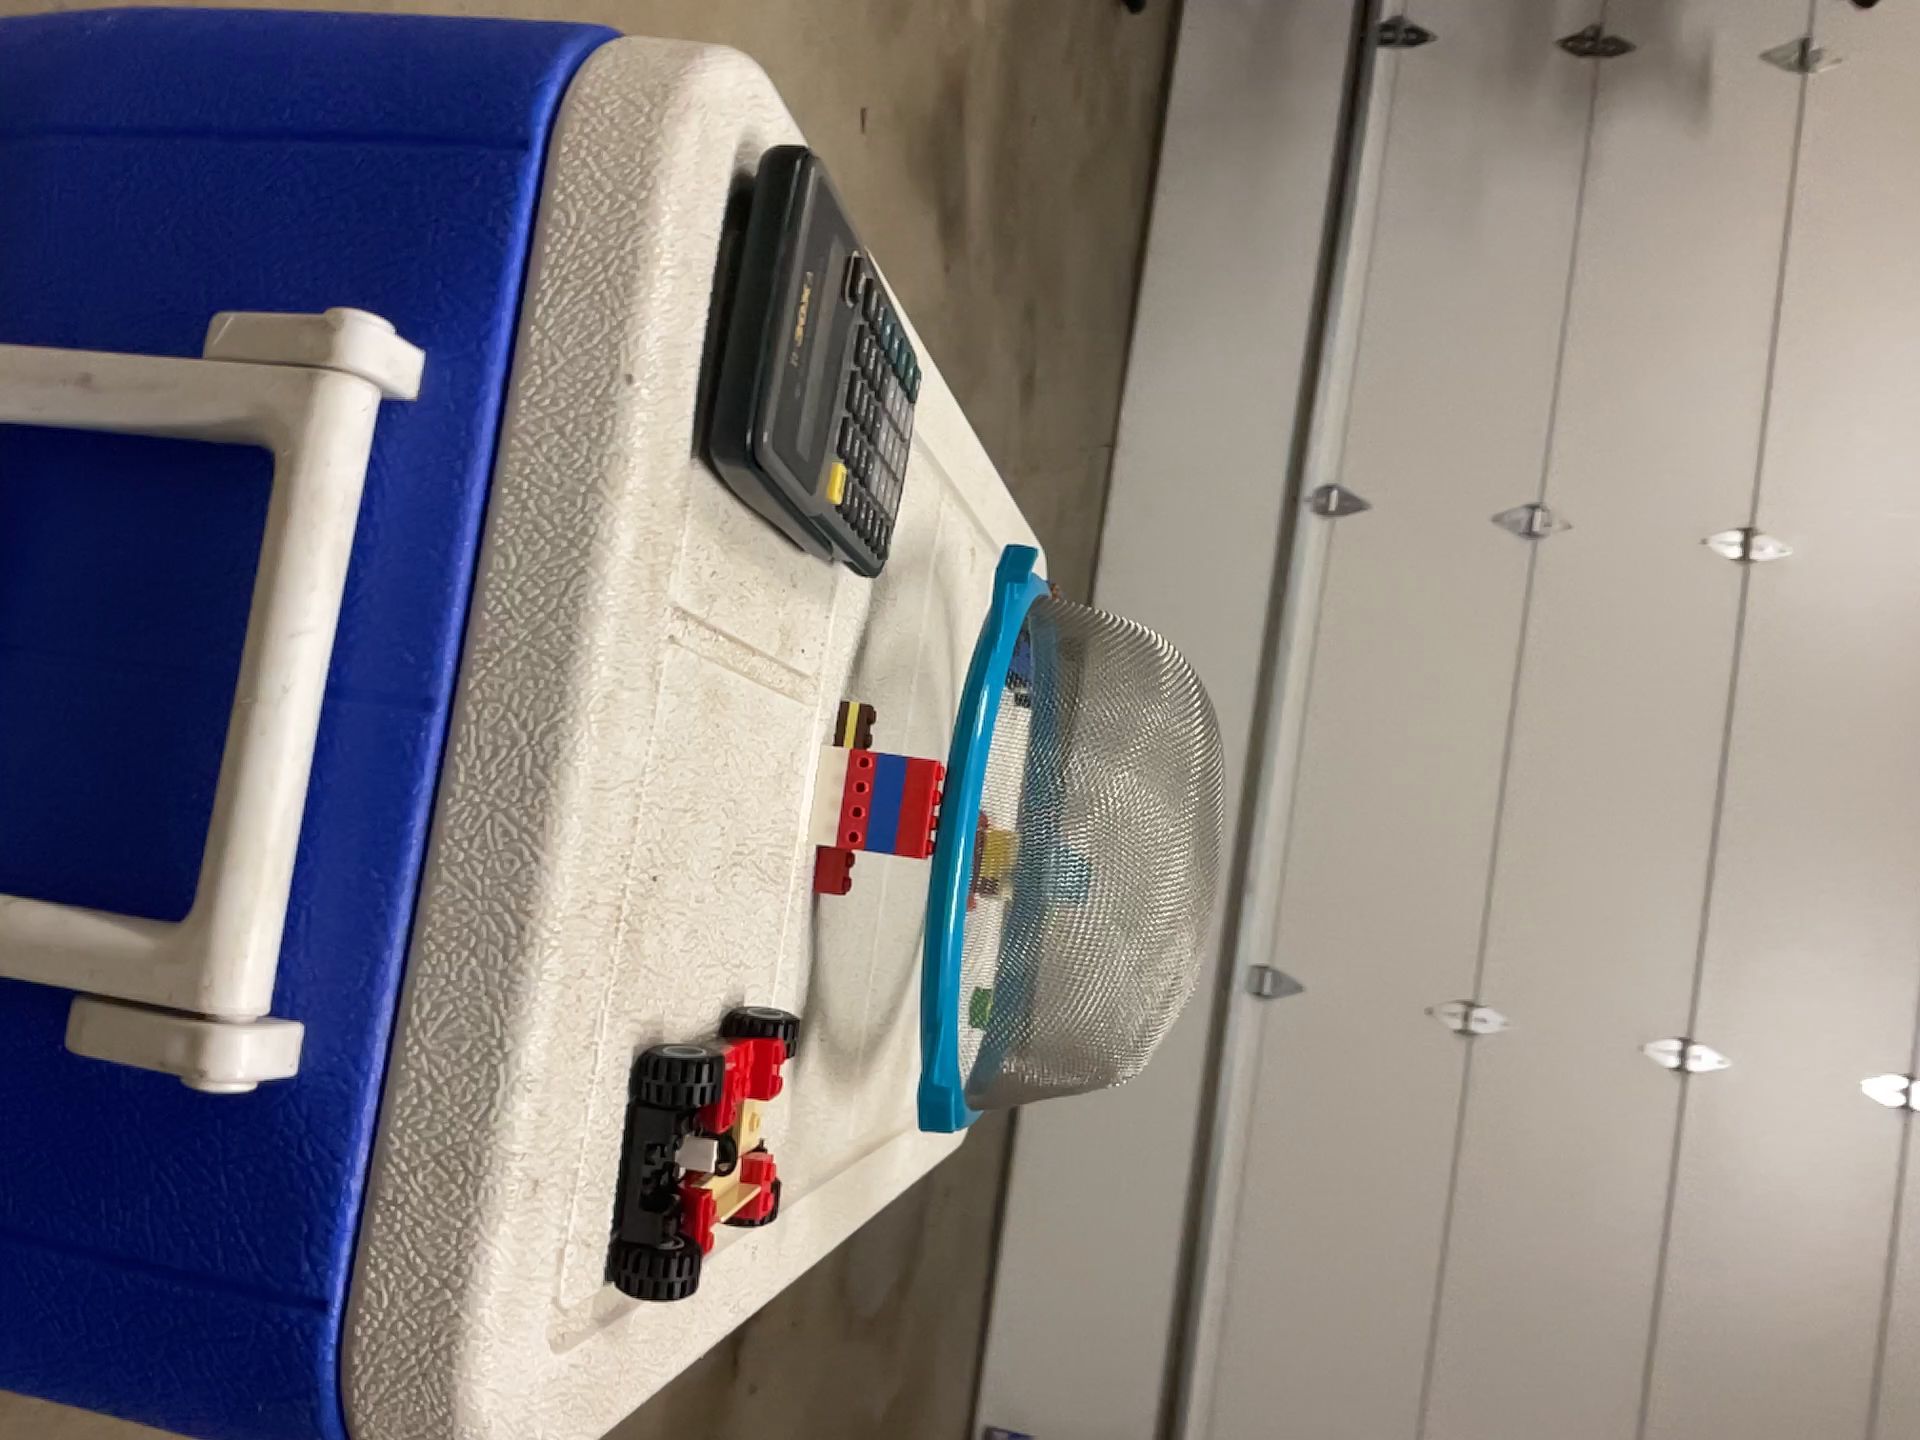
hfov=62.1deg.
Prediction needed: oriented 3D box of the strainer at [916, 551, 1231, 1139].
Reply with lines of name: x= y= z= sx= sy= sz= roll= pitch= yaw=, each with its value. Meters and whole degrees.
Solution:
strainer: x=0.065 y=0.065 z=0.662 sx=0.340 sy=0.095 sz=0.211 roll=38 pitch=60 yaw=-76
